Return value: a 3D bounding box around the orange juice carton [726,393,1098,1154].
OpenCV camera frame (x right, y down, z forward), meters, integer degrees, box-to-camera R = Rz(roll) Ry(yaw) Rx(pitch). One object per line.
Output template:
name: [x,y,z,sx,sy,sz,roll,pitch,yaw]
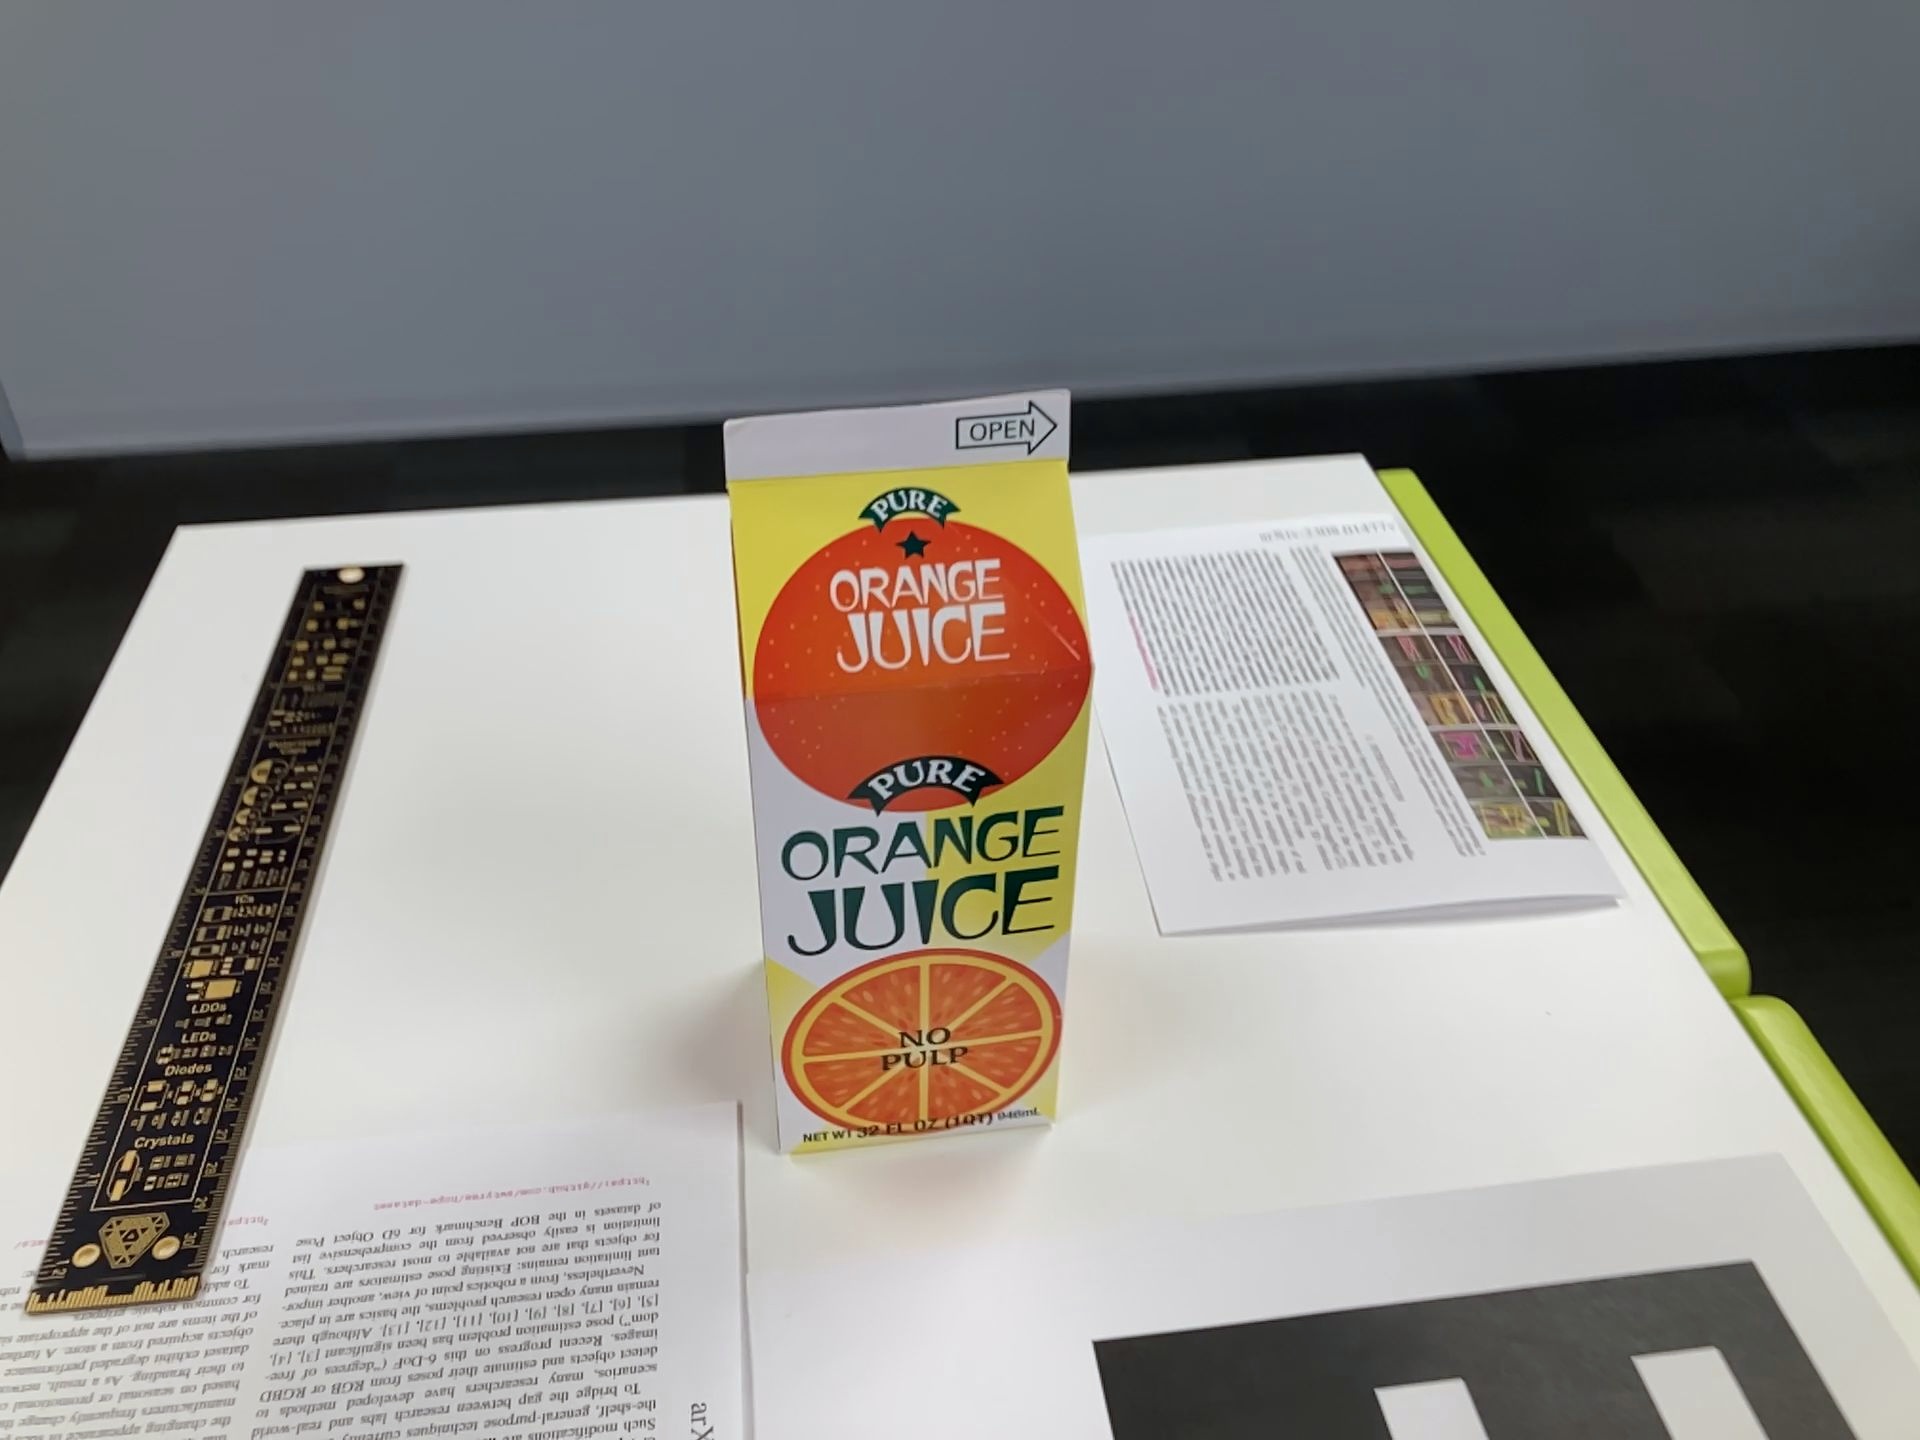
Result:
orange juice carton: [-0.014,0.013,0.374,0.072,0.192,0.073,-5,39,-8]
